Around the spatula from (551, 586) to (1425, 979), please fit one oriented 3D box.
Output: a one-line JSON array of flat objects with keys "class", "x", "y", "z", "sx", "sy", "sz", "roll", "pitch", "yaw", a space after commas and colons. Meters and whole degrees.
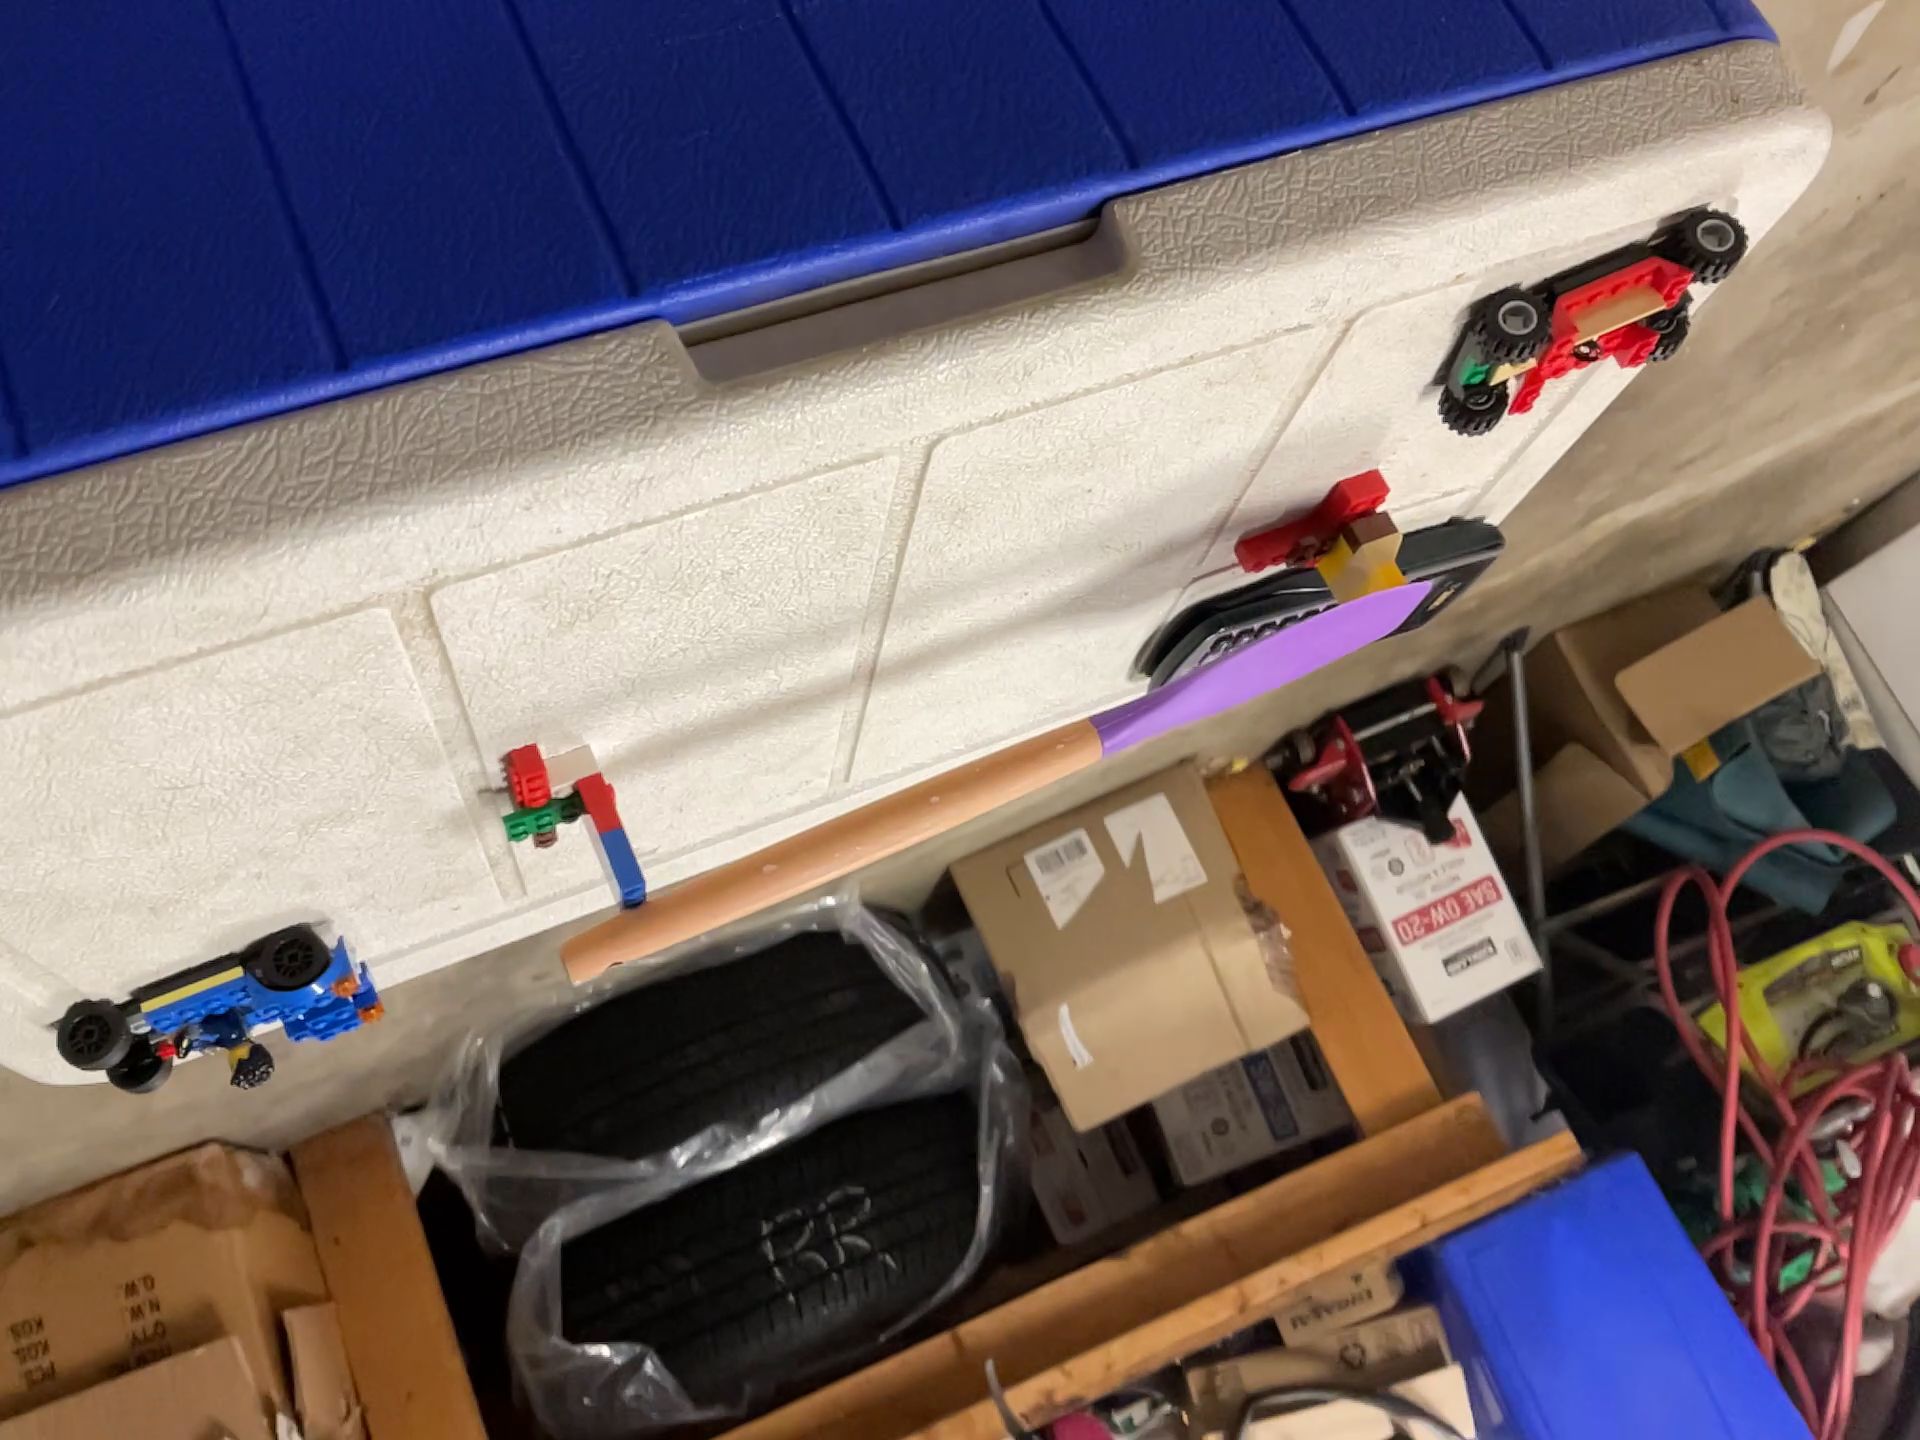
[{"class": "spatula", "x": 0.020, "y": 0.015, "z": 0.521, "sx": 0.316, "sy": 0.018, "sz": 0.059, "roll": -22, "pitch": 163, "yaw": -16}]
